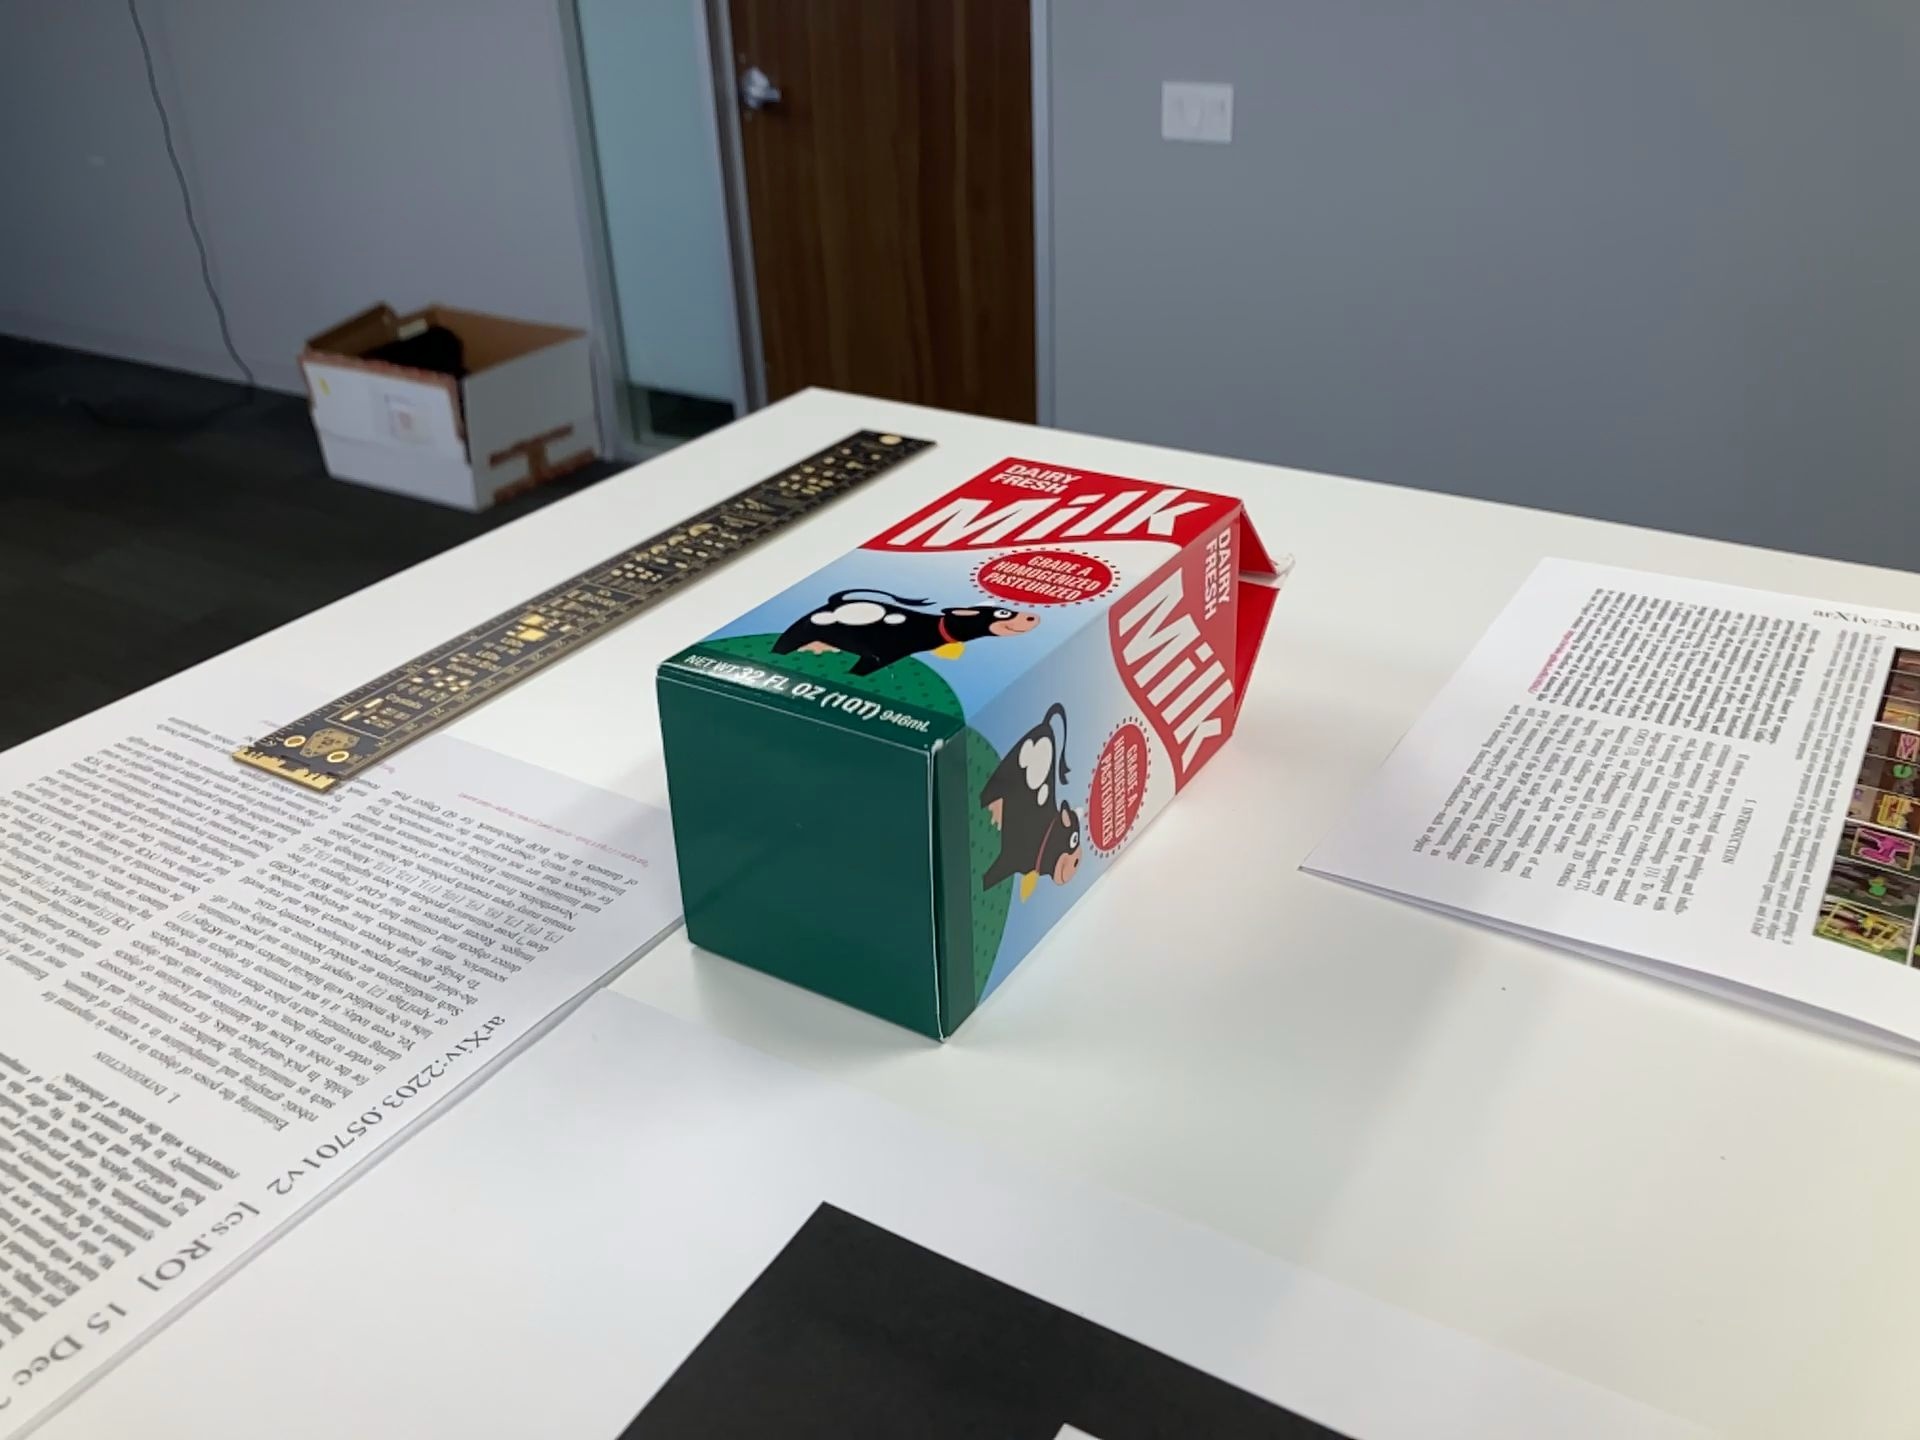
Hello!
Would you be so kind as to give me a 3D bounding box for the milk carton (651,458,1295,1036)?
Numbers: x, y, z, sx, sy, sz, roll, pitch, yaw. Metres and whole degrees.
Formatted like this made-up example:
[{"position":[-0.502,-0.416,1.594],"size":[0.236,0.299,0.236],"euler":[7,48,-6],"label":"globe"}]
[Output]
[{"position":[0.016,-0.012,0.397],"size":[0.072,0.073,0.190],"euler":[14,32,28],"label":"milk carton"}]
